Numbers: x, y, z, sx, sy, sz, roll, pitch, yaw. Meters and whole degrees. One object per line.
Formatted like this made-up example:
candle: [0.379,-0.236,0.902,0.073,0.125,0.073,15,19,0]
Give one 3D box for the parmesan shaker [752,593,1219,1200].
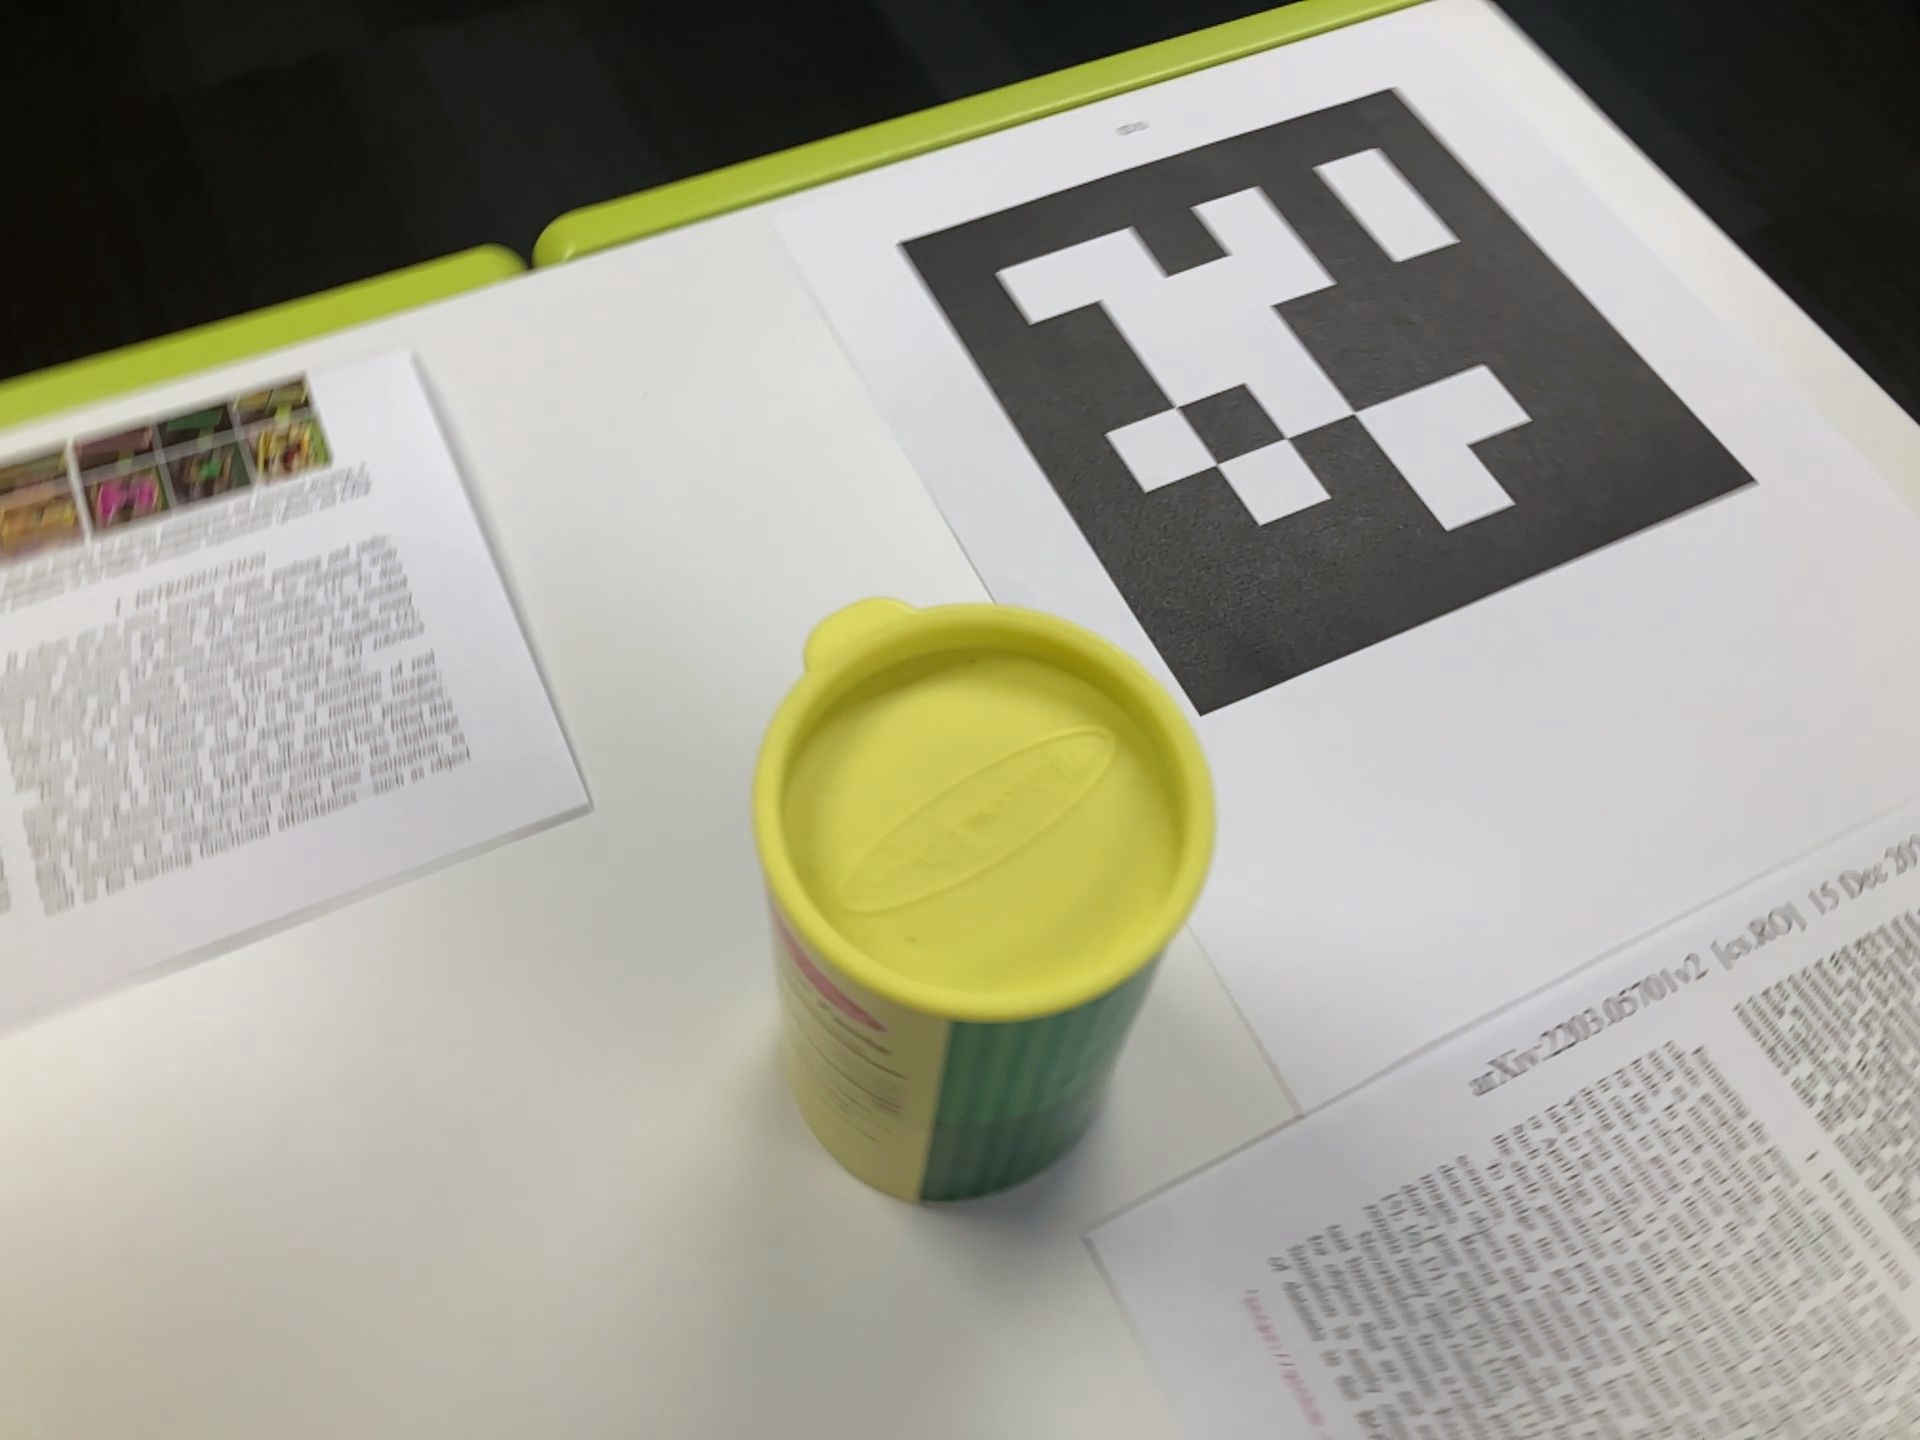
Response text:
parmesan shaker: [0.000,0.034,0.270,0.071,0.103,0.071,2,60,-3]
